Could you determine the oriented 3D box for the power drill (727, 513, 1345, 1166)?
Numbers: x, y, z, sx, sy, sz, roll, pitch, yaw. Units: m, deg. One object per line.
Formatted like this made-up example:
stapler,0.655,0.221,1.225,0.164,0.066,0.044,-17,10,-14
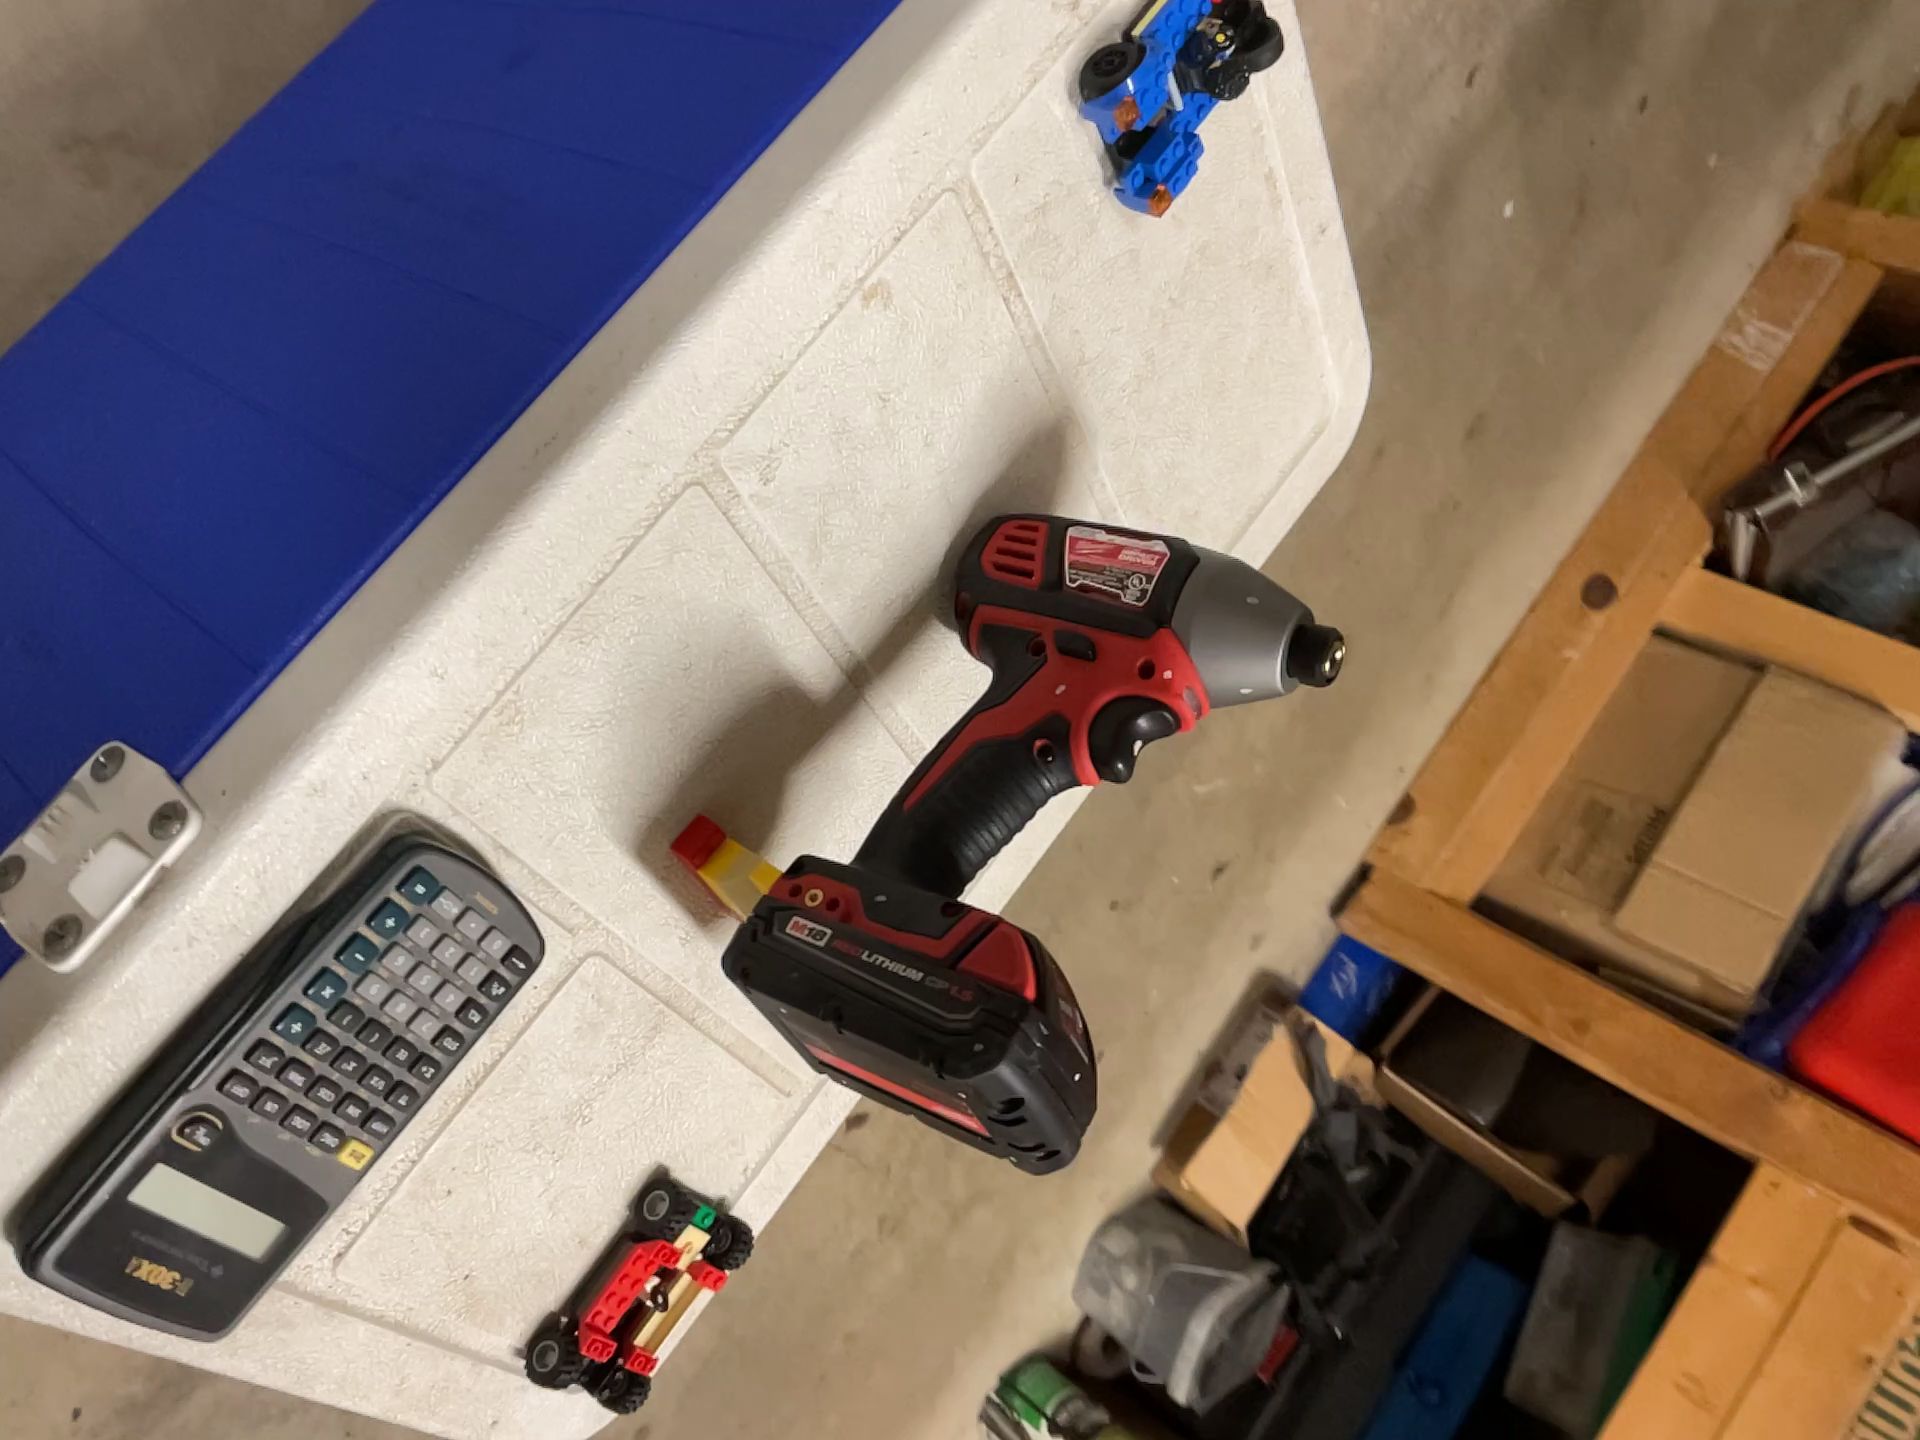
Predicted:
power drill,0.032,0.026,0.543,0.220,0.143,0.078,-60,146,-25
